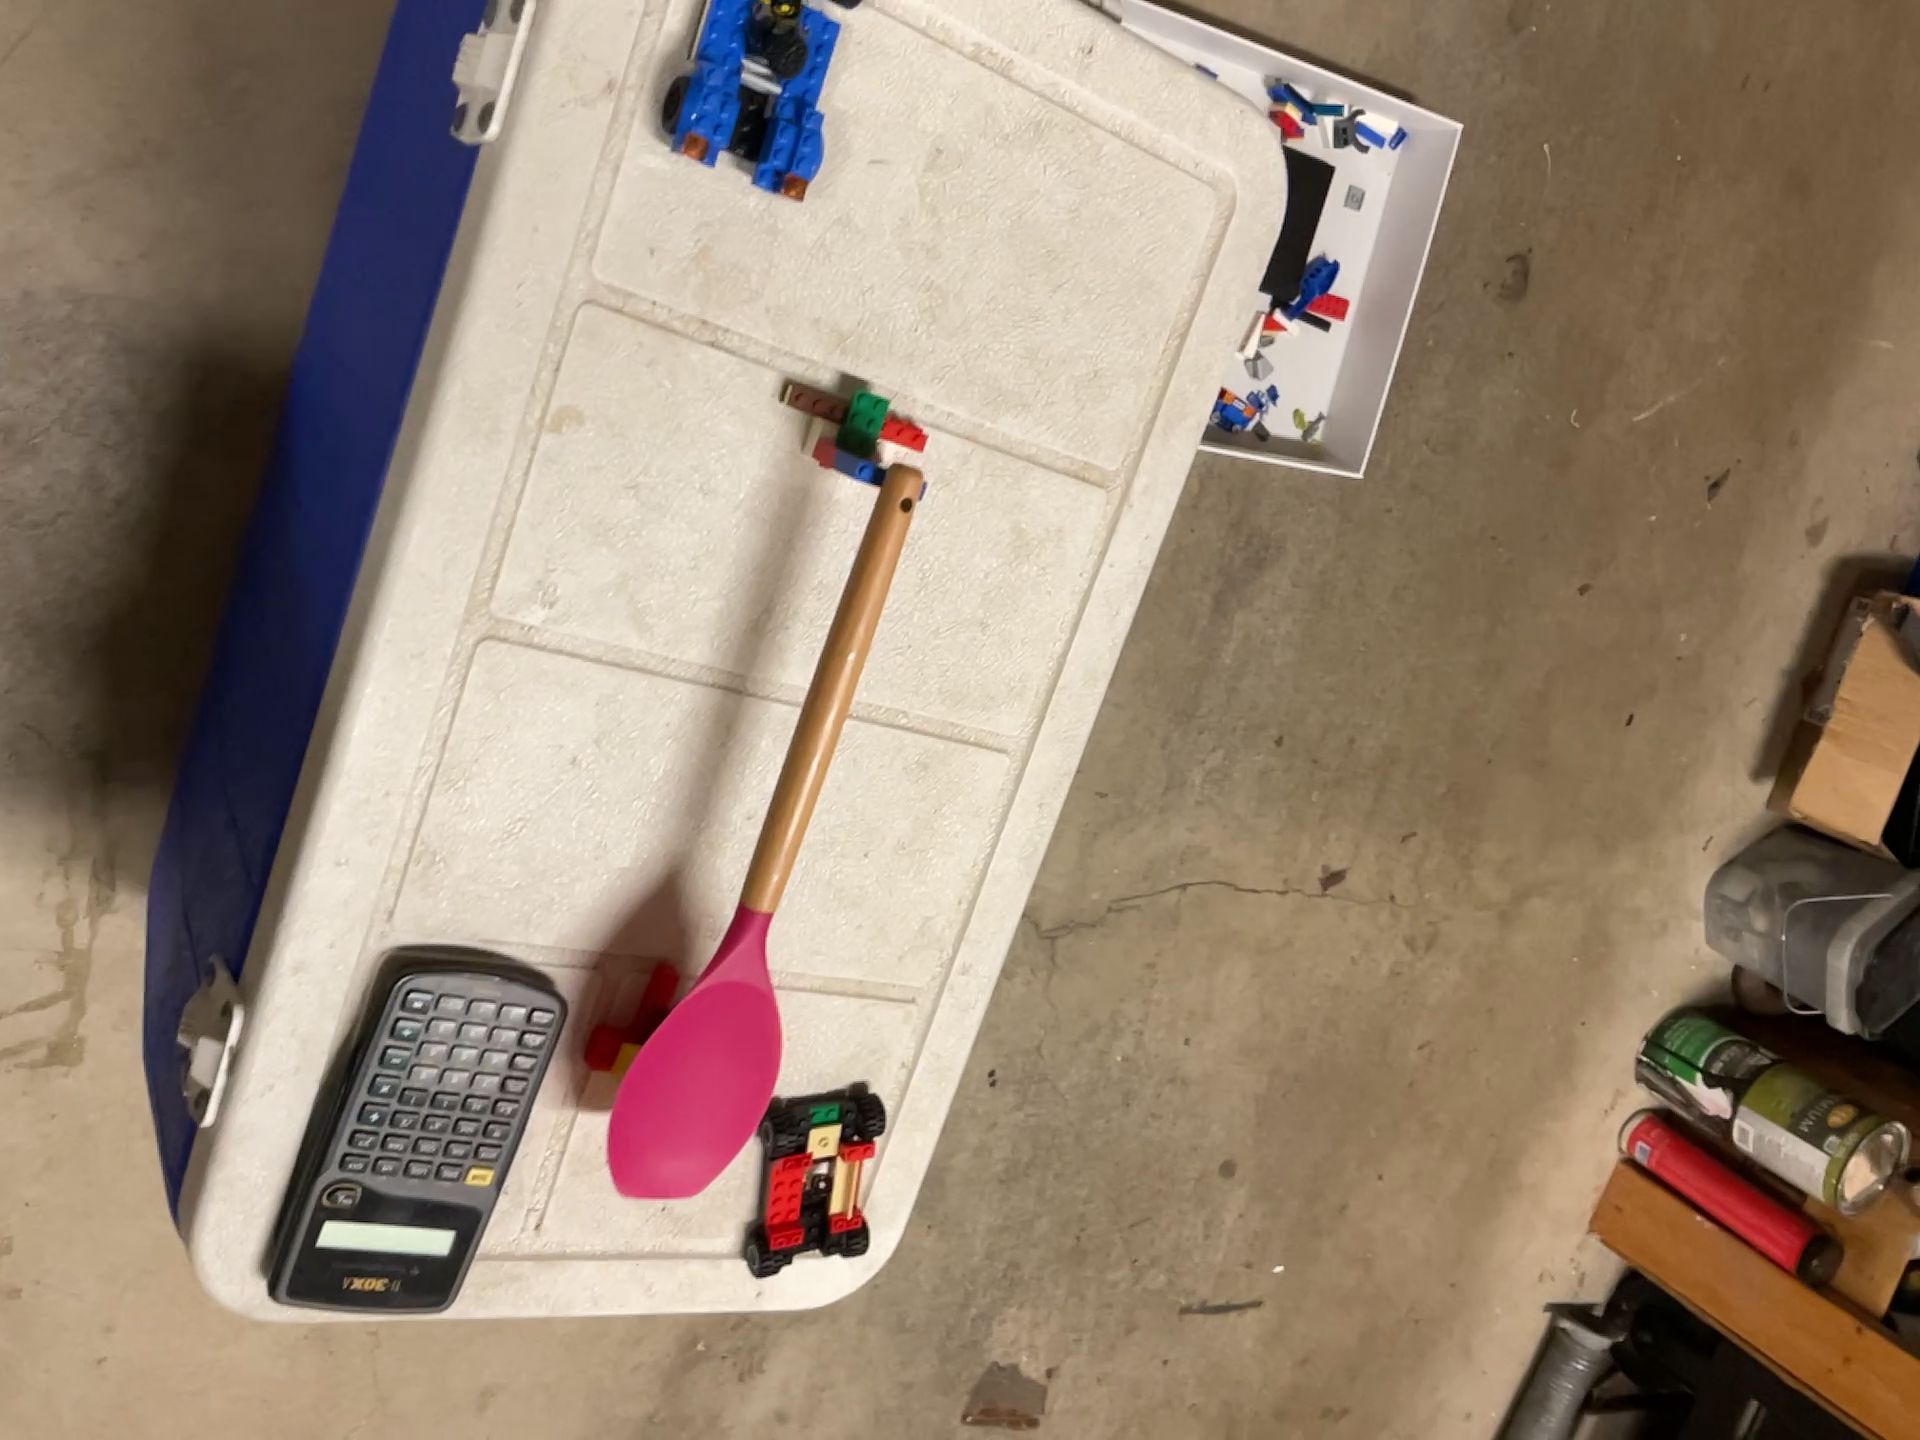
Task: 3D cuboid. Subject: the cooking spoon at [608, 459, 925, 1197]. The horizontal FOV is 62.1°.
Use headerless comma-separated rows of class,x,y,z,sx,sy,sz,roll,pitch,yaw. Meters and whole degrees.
cooking spoon,-0.072,0.050,0.632,0.069,0.017,0.318,12,104,-35
